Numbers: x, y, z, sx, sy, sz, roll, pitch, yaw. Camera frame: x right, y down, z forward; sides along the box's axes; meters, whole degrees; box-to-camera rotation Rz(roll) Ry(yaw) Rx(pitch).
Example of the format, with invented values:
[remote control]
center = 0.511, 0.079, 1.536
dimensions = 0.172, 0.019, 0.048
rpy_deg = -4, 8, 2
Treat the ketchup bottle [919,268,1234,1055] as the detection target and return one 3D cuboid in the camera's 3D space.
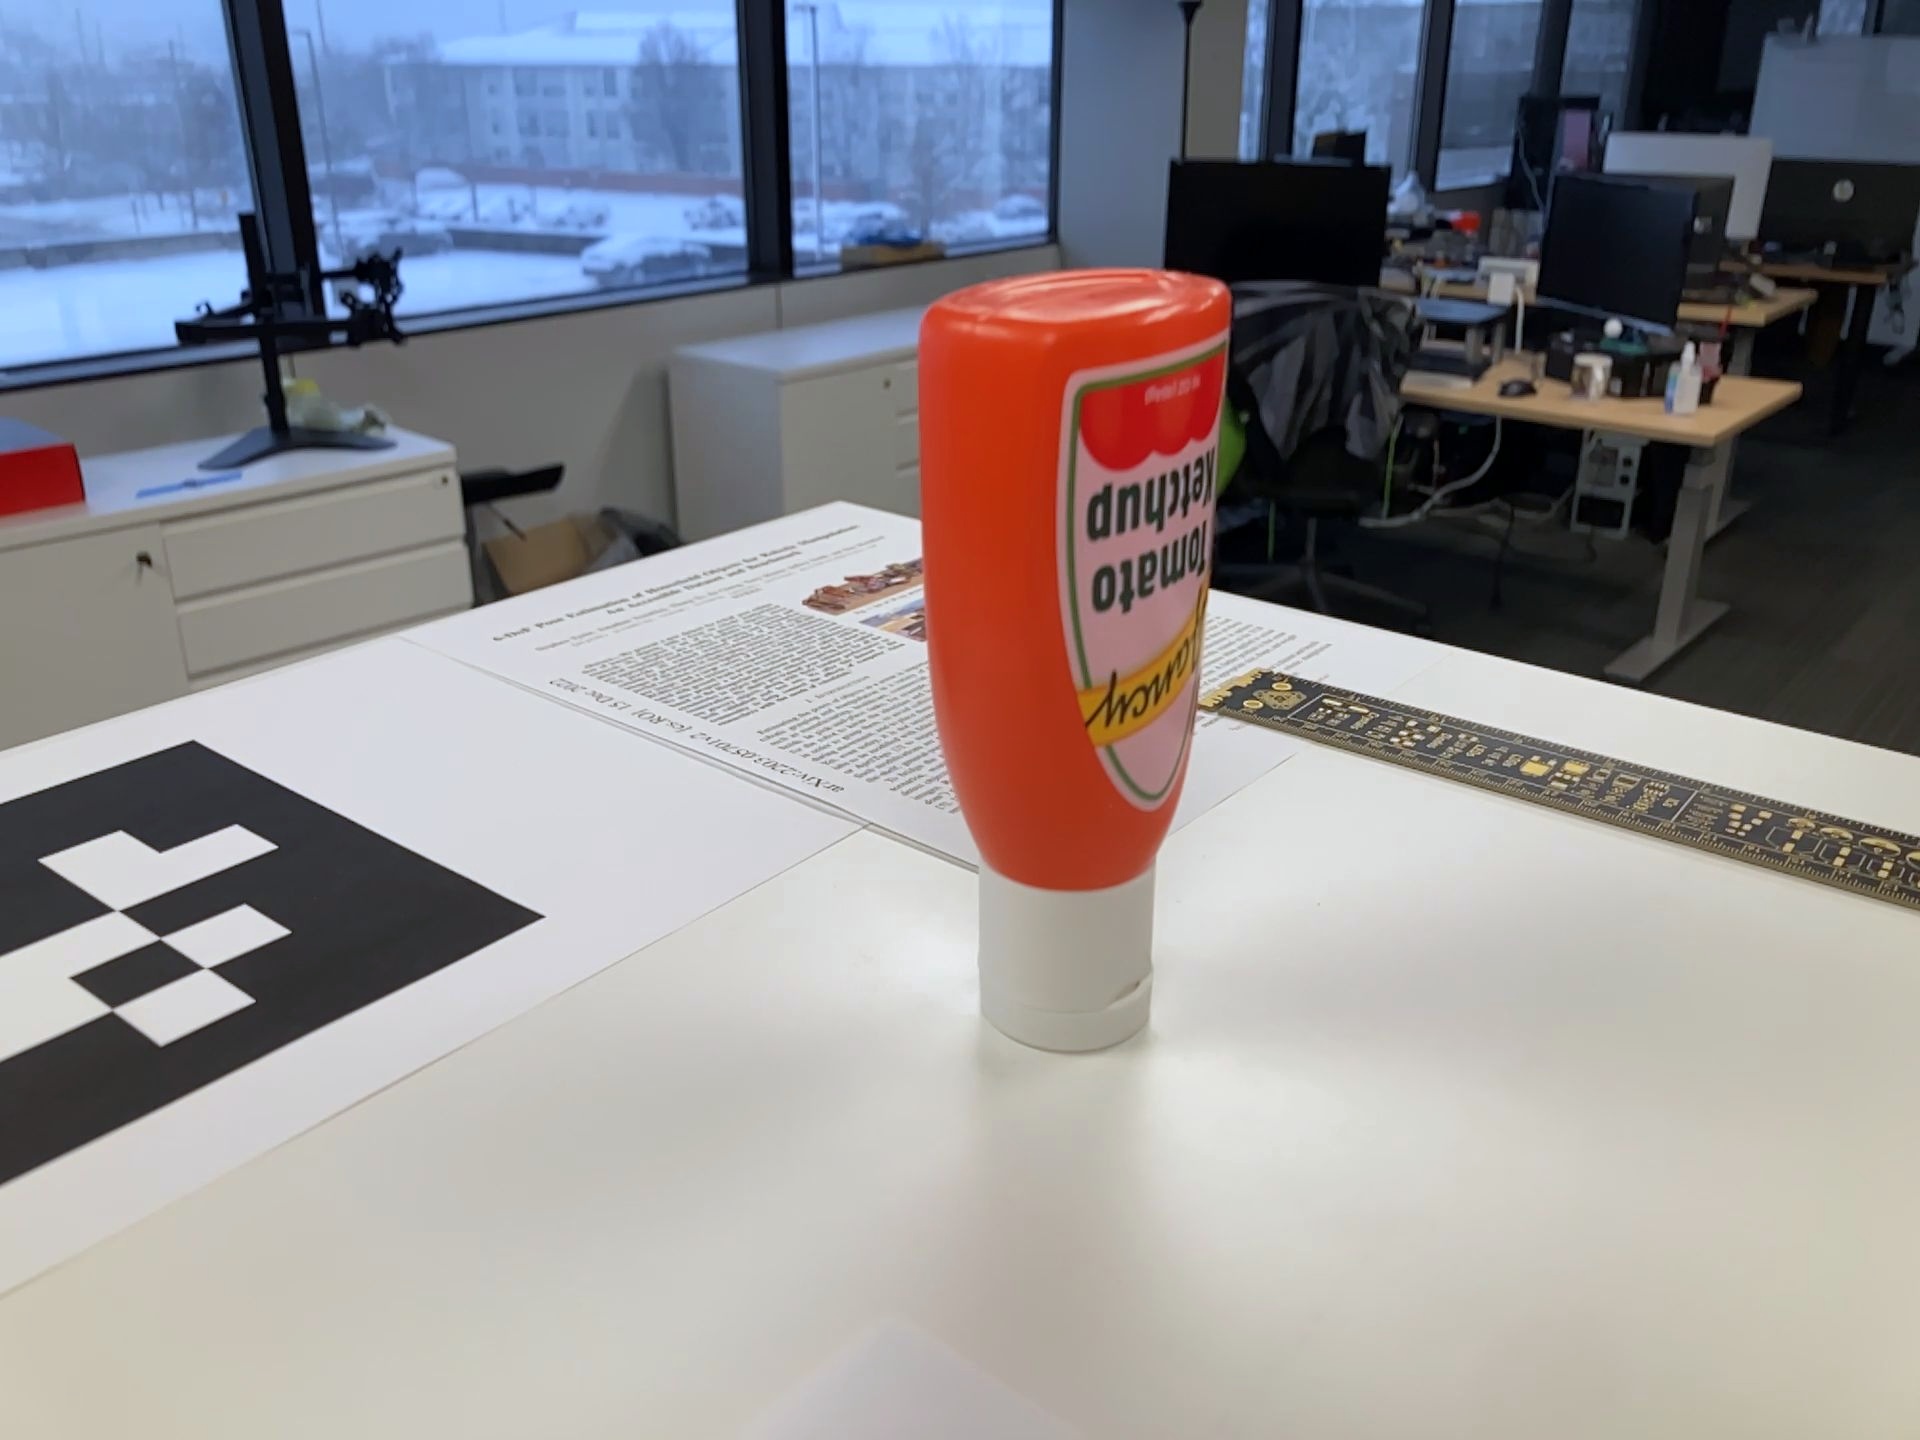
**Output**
[ketchup bottle]
center = 0.021, -0.008, 0.305
dimensions = 0.043, 0.149, 0.065
rpy_deg = 18, 30, 36
